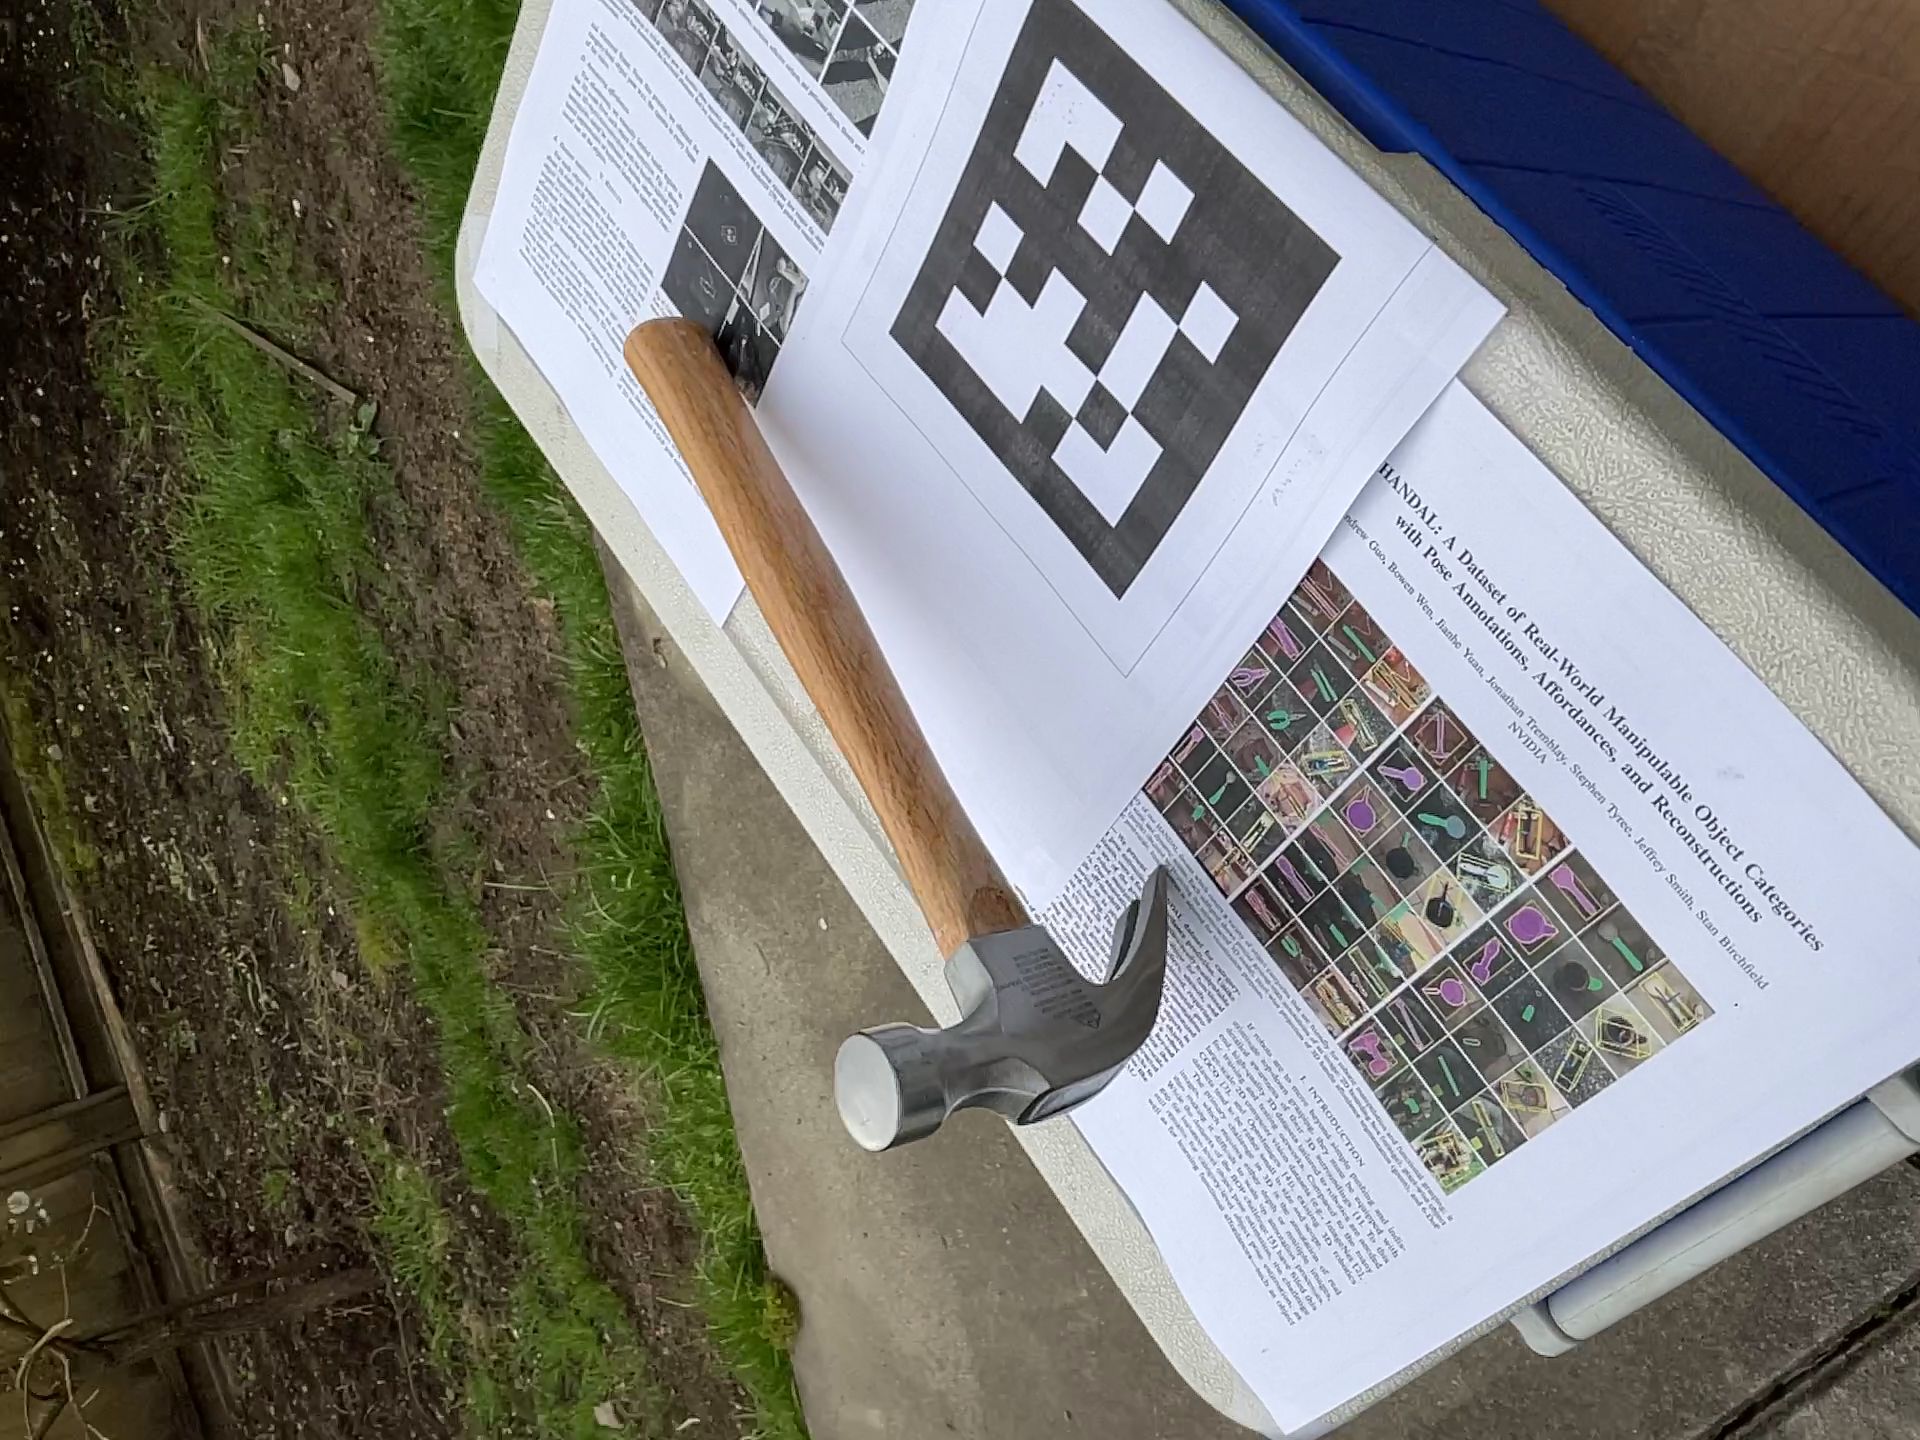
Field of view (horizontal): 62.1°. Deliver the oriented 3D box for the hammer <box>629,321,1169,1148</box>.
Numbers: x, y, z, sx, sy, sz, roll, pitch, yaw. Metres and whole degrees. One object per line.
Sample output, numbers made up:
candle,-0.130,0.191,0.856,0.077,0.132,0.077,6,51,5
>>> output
hammer,-0.037,-0.019,0.532,0.031,0.129,0.332,-56,51,38
